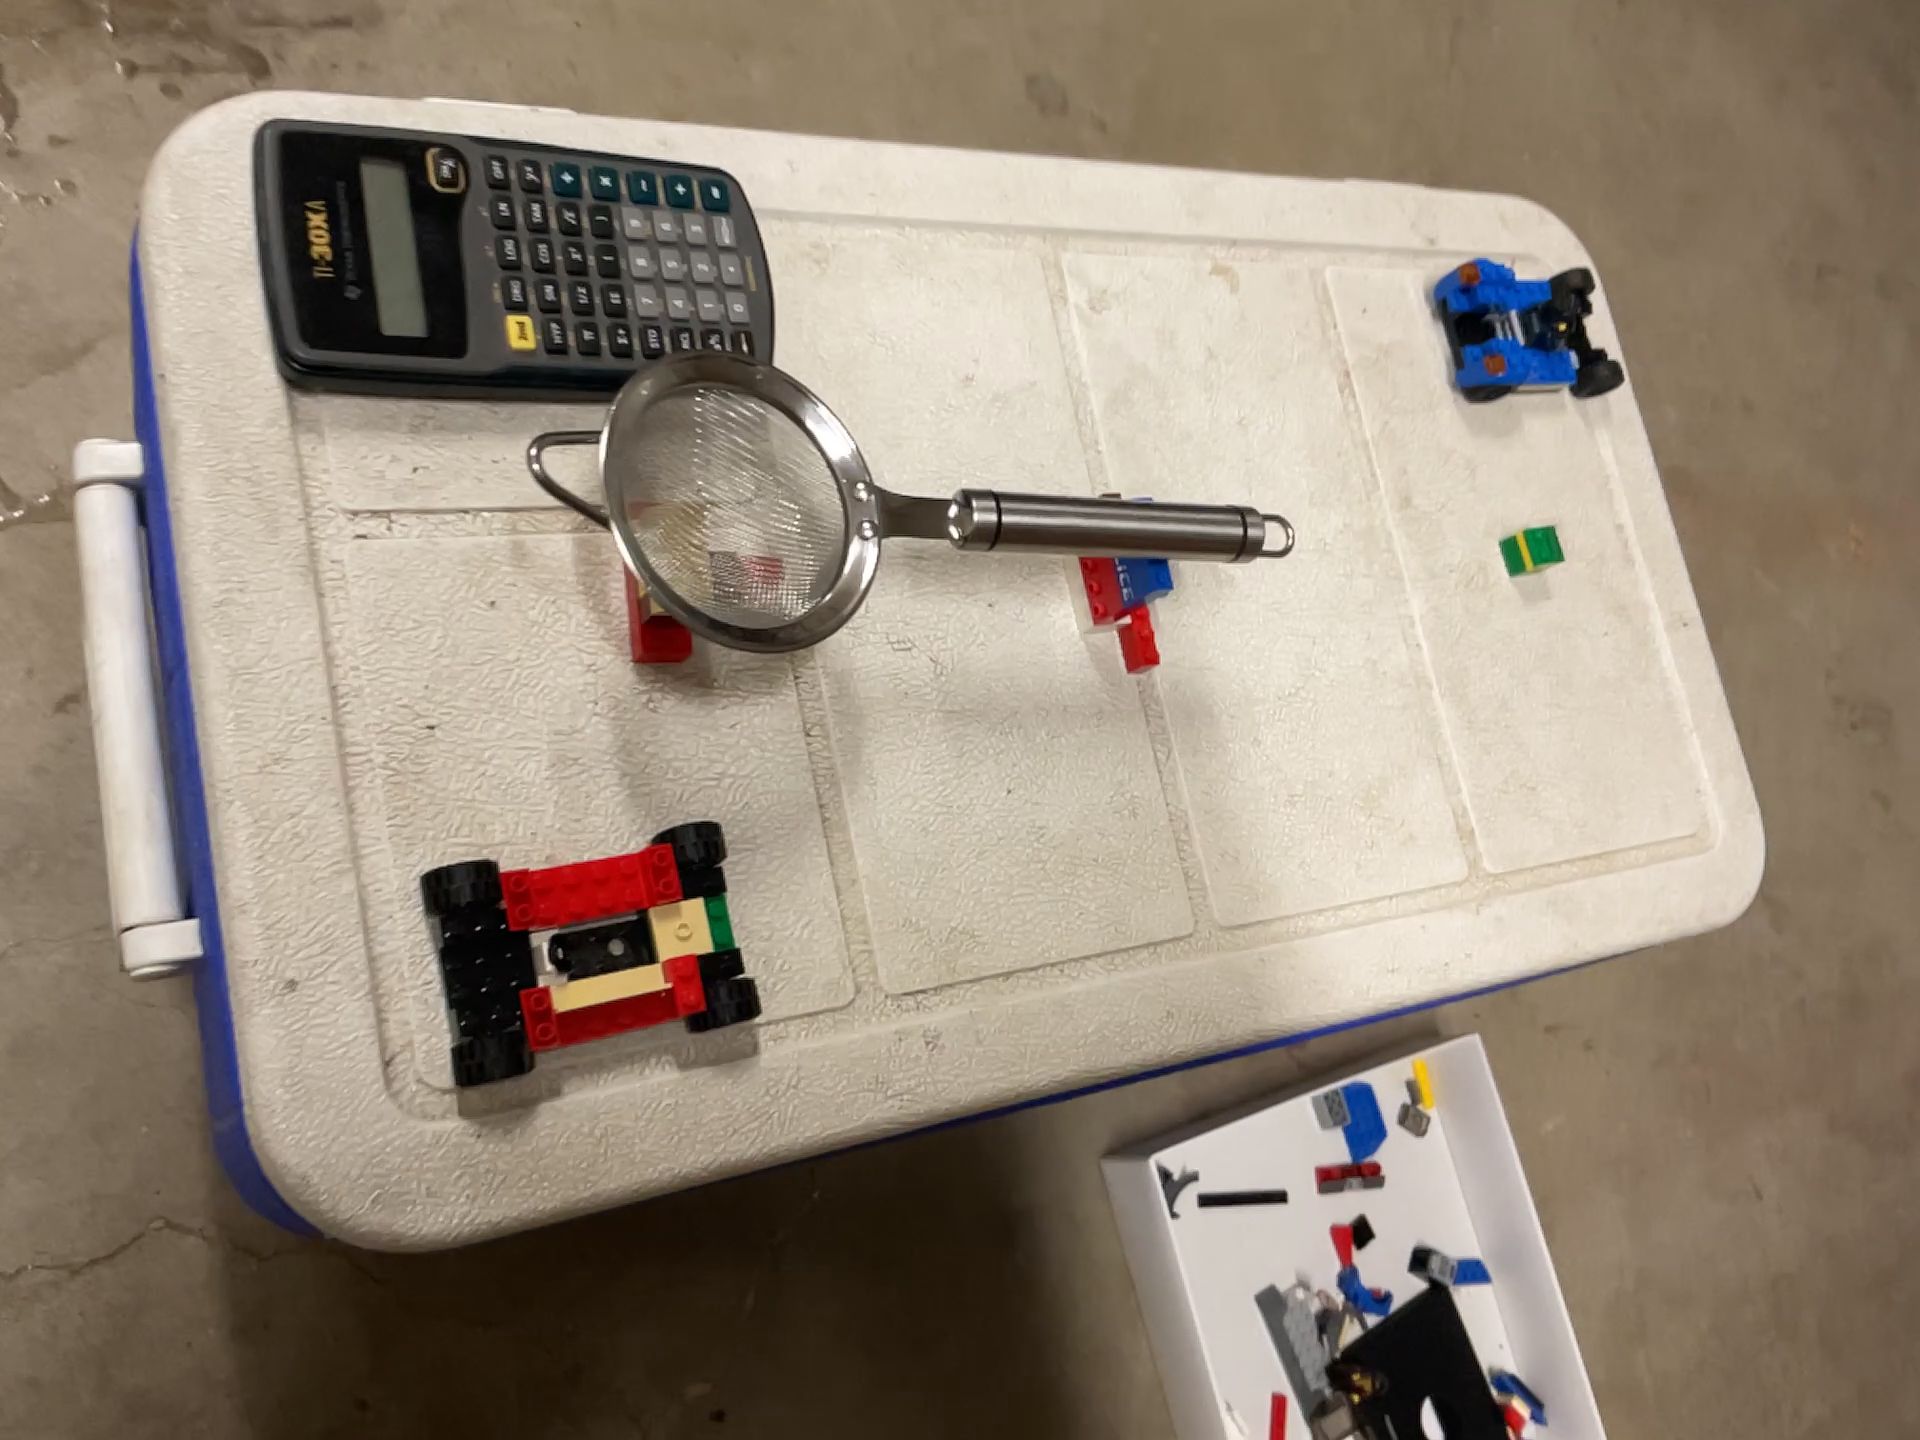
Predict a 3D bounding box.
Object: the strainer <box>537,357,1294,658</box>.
[{"bbox_3d":[-0.002,-0.058,0.479,0.259,0.050,0.087,-1,77,-28],"label":"strainer"}]
